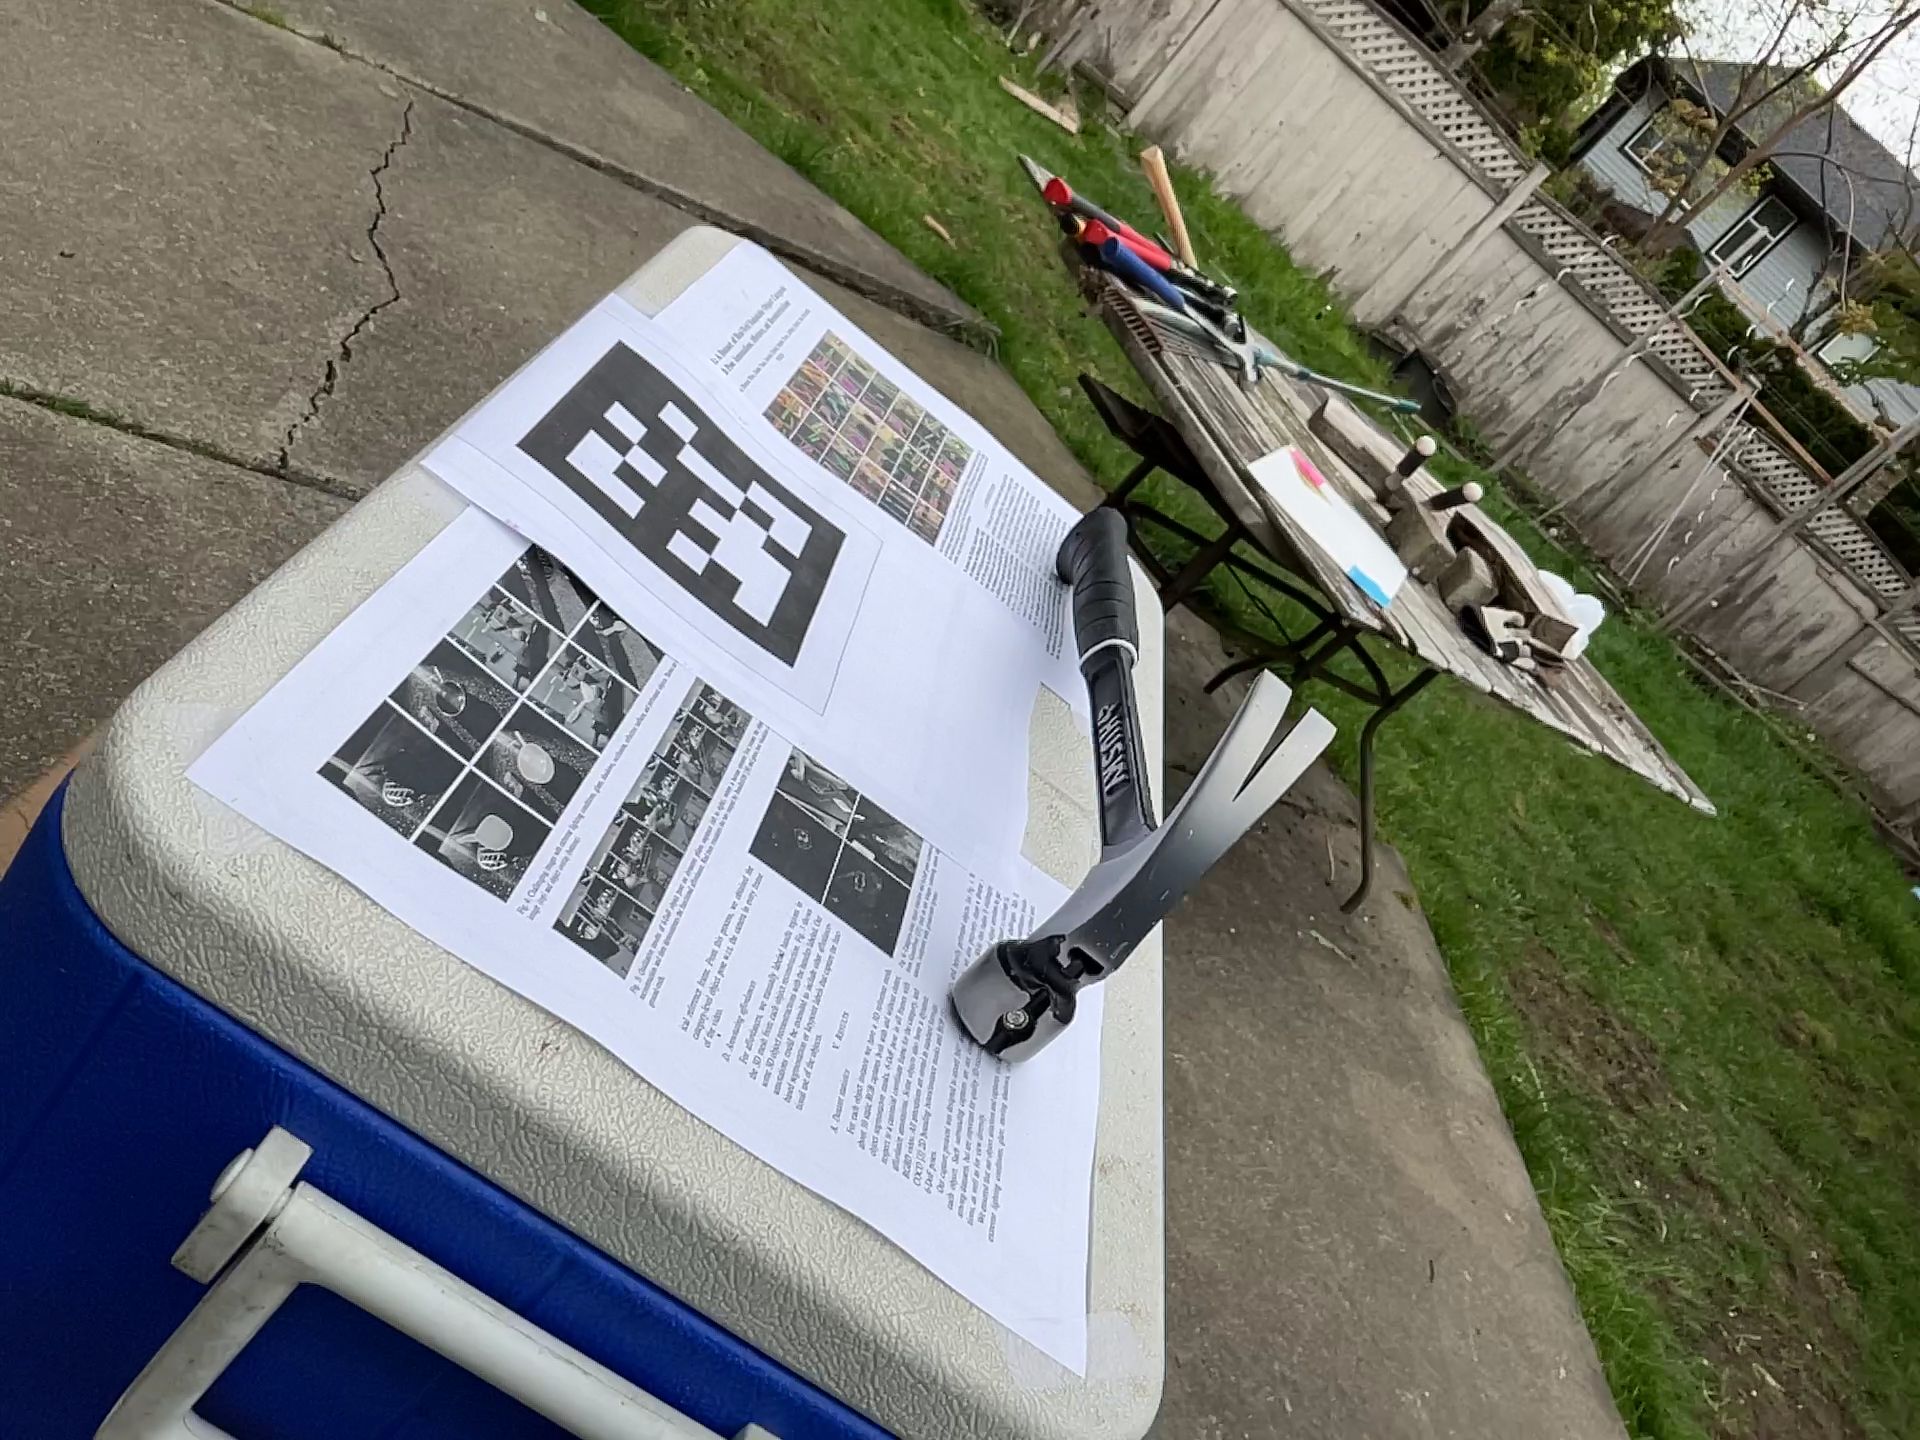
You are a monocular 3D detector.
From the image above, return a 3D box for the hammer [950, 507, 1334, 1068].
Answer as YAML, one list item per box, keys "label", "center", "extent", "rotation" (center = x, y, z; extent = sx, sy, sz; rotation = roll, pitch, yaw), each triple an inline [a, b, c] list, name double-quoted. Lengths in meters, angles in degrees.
- label: "hammer"
  center: [0.065, -0.022, 0.673]
  extent: [0.036, 0.149, 0.409]
  rotation: [39, 20, -13]
